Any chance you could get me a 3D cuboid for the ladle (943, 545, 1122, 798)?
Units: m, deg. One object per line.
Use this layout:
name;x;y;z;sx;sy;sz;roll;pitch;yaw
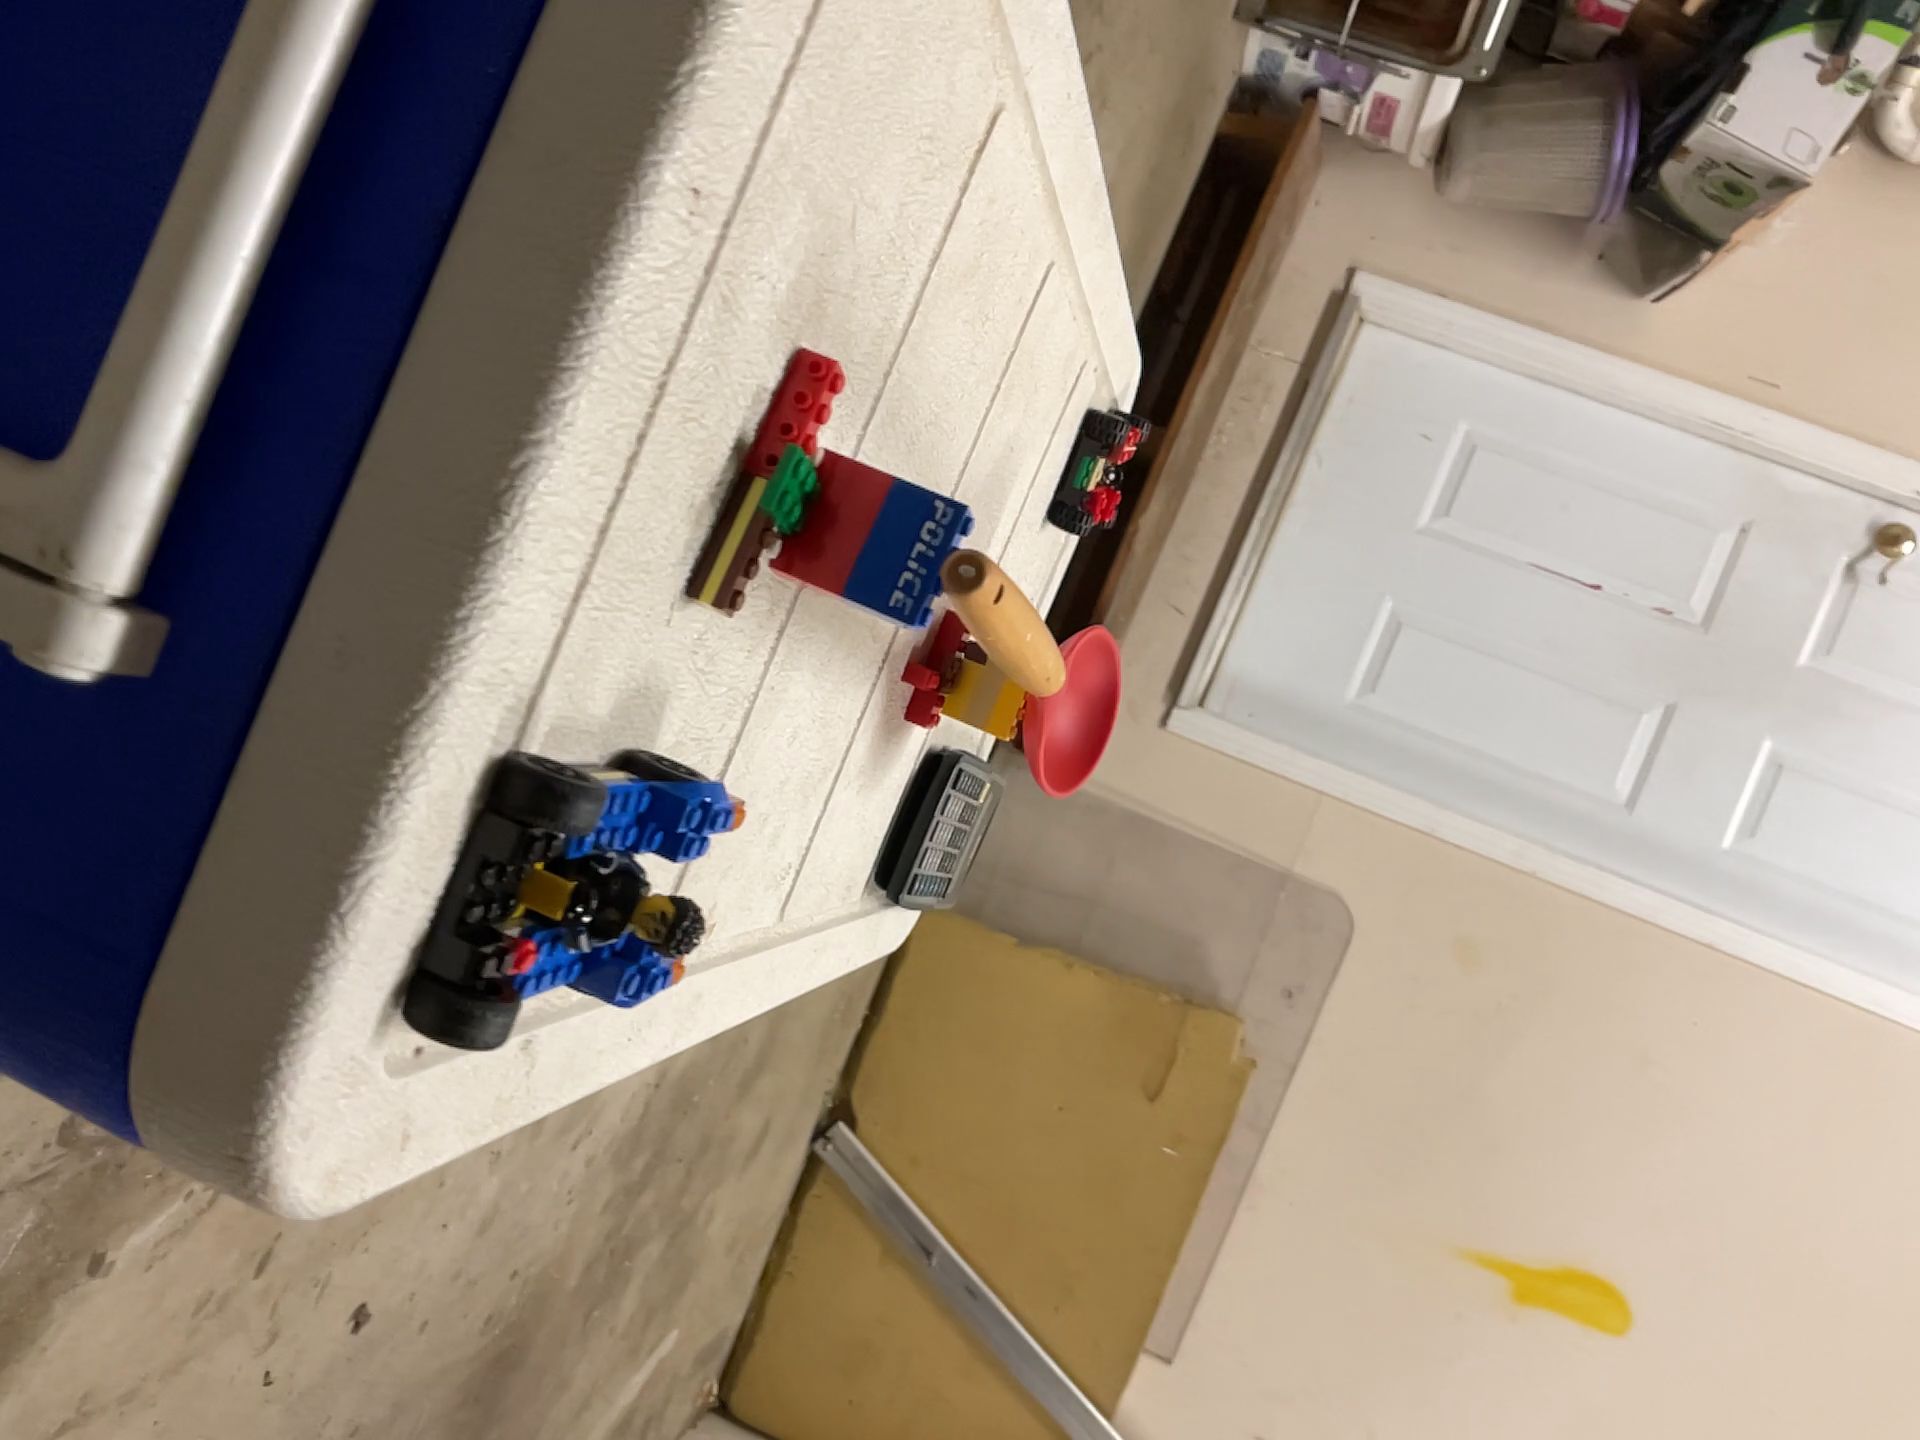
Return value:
ladle;0.025;-0.017;0.509;0.315;0.031;0.069;35;73;-79
